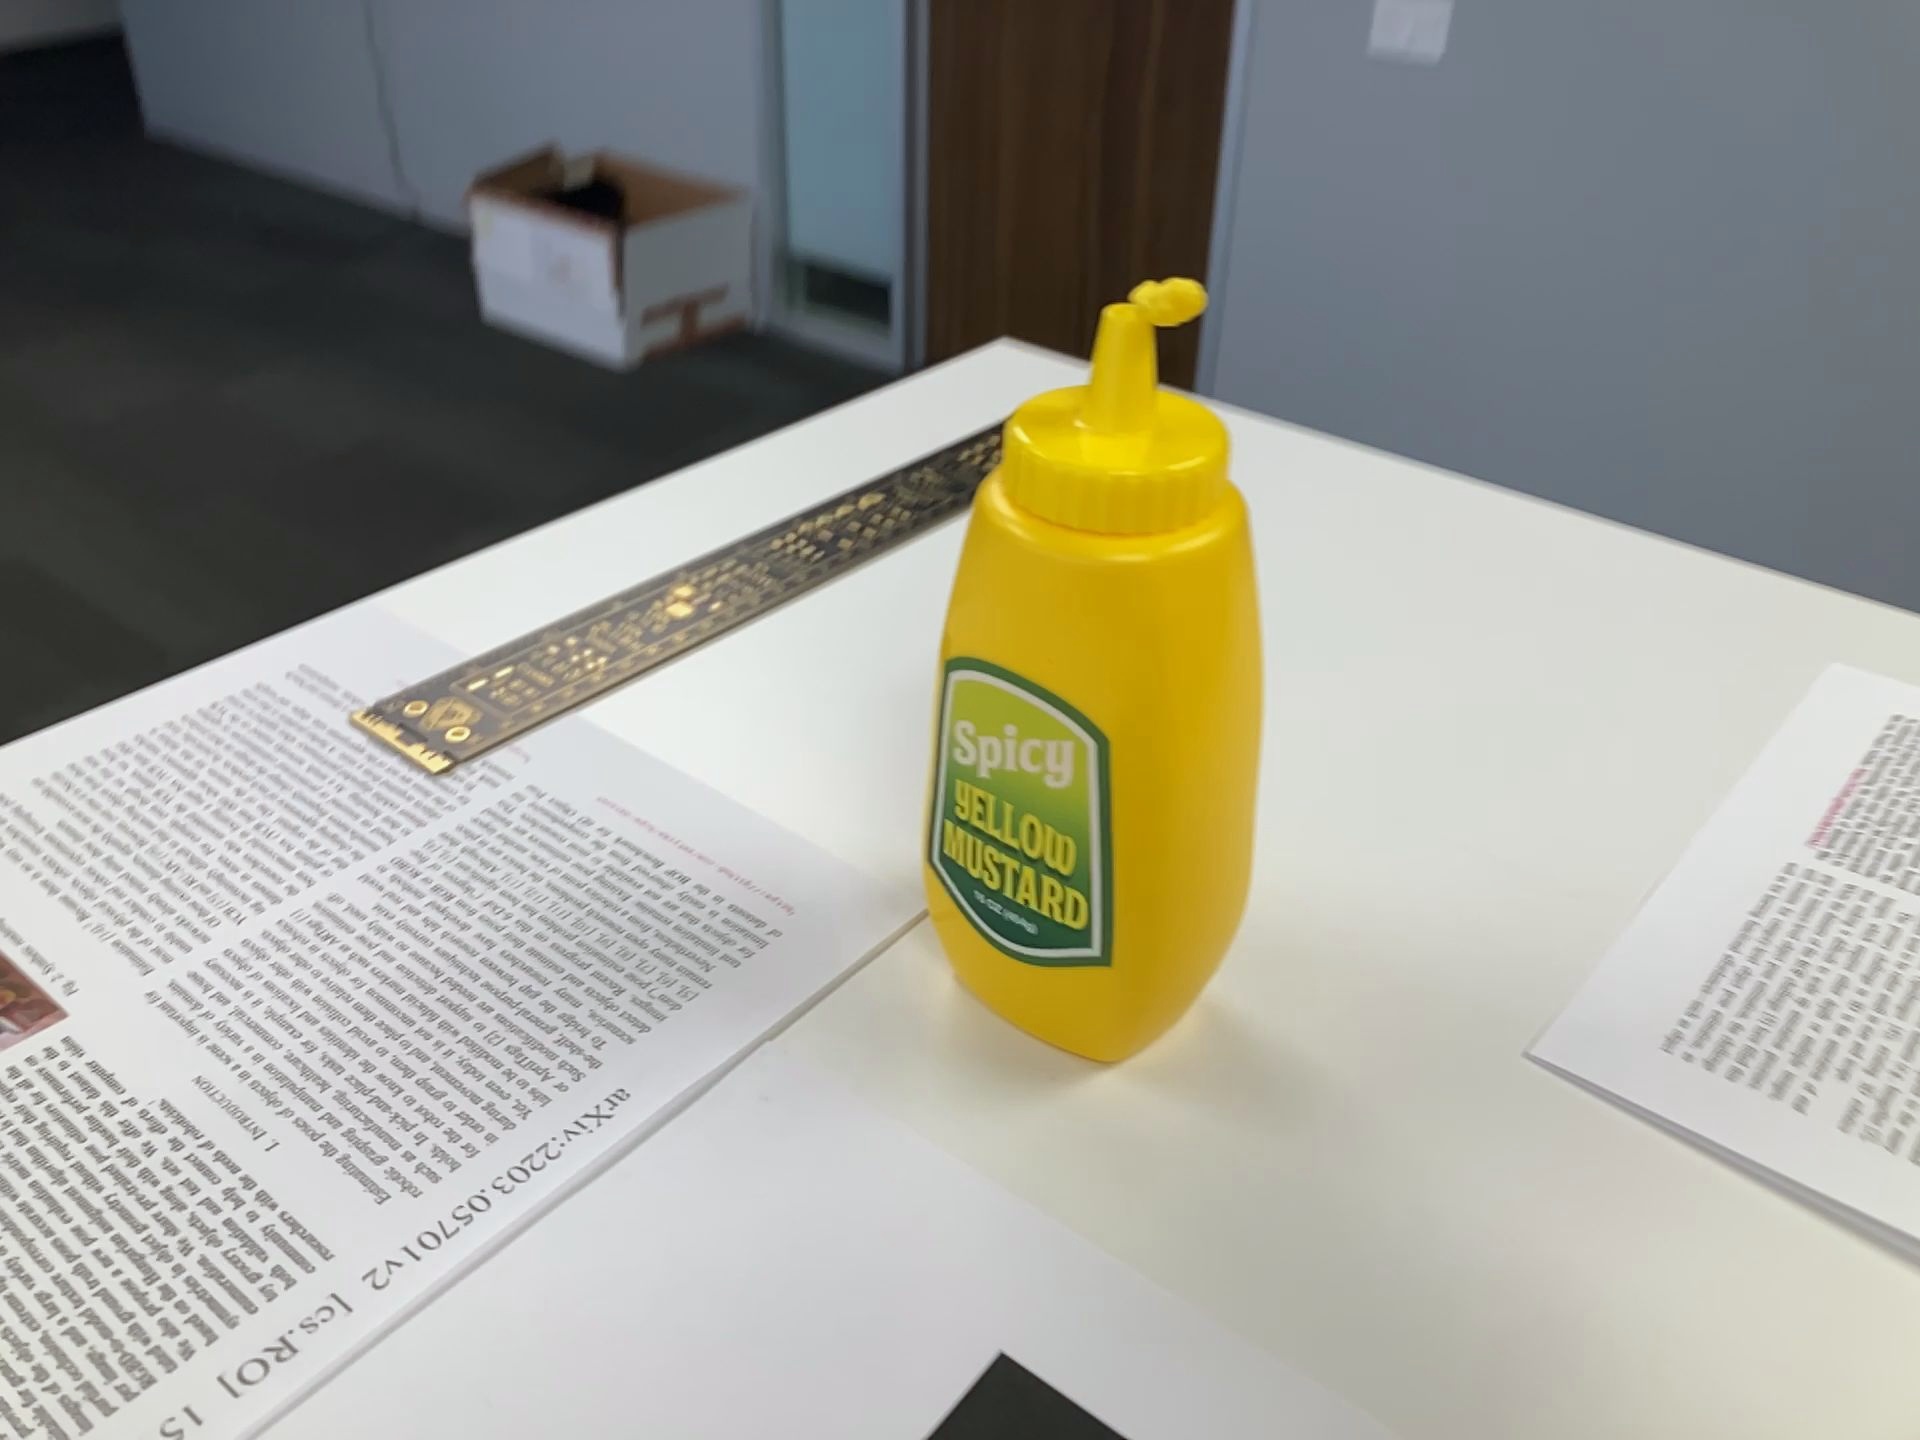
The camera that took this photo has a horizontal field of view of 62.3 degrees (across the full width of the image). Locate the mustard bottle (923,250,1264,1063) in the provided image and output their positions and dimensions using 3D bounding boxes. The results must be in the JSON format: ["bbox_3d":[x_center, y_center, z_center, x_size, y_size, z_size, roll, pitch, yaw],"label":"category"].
[{"bbox_3d":[0.026,-0.009,0.303,0.065,0.160,0.049,27,41,34],"label":"mustard bottle"}]
